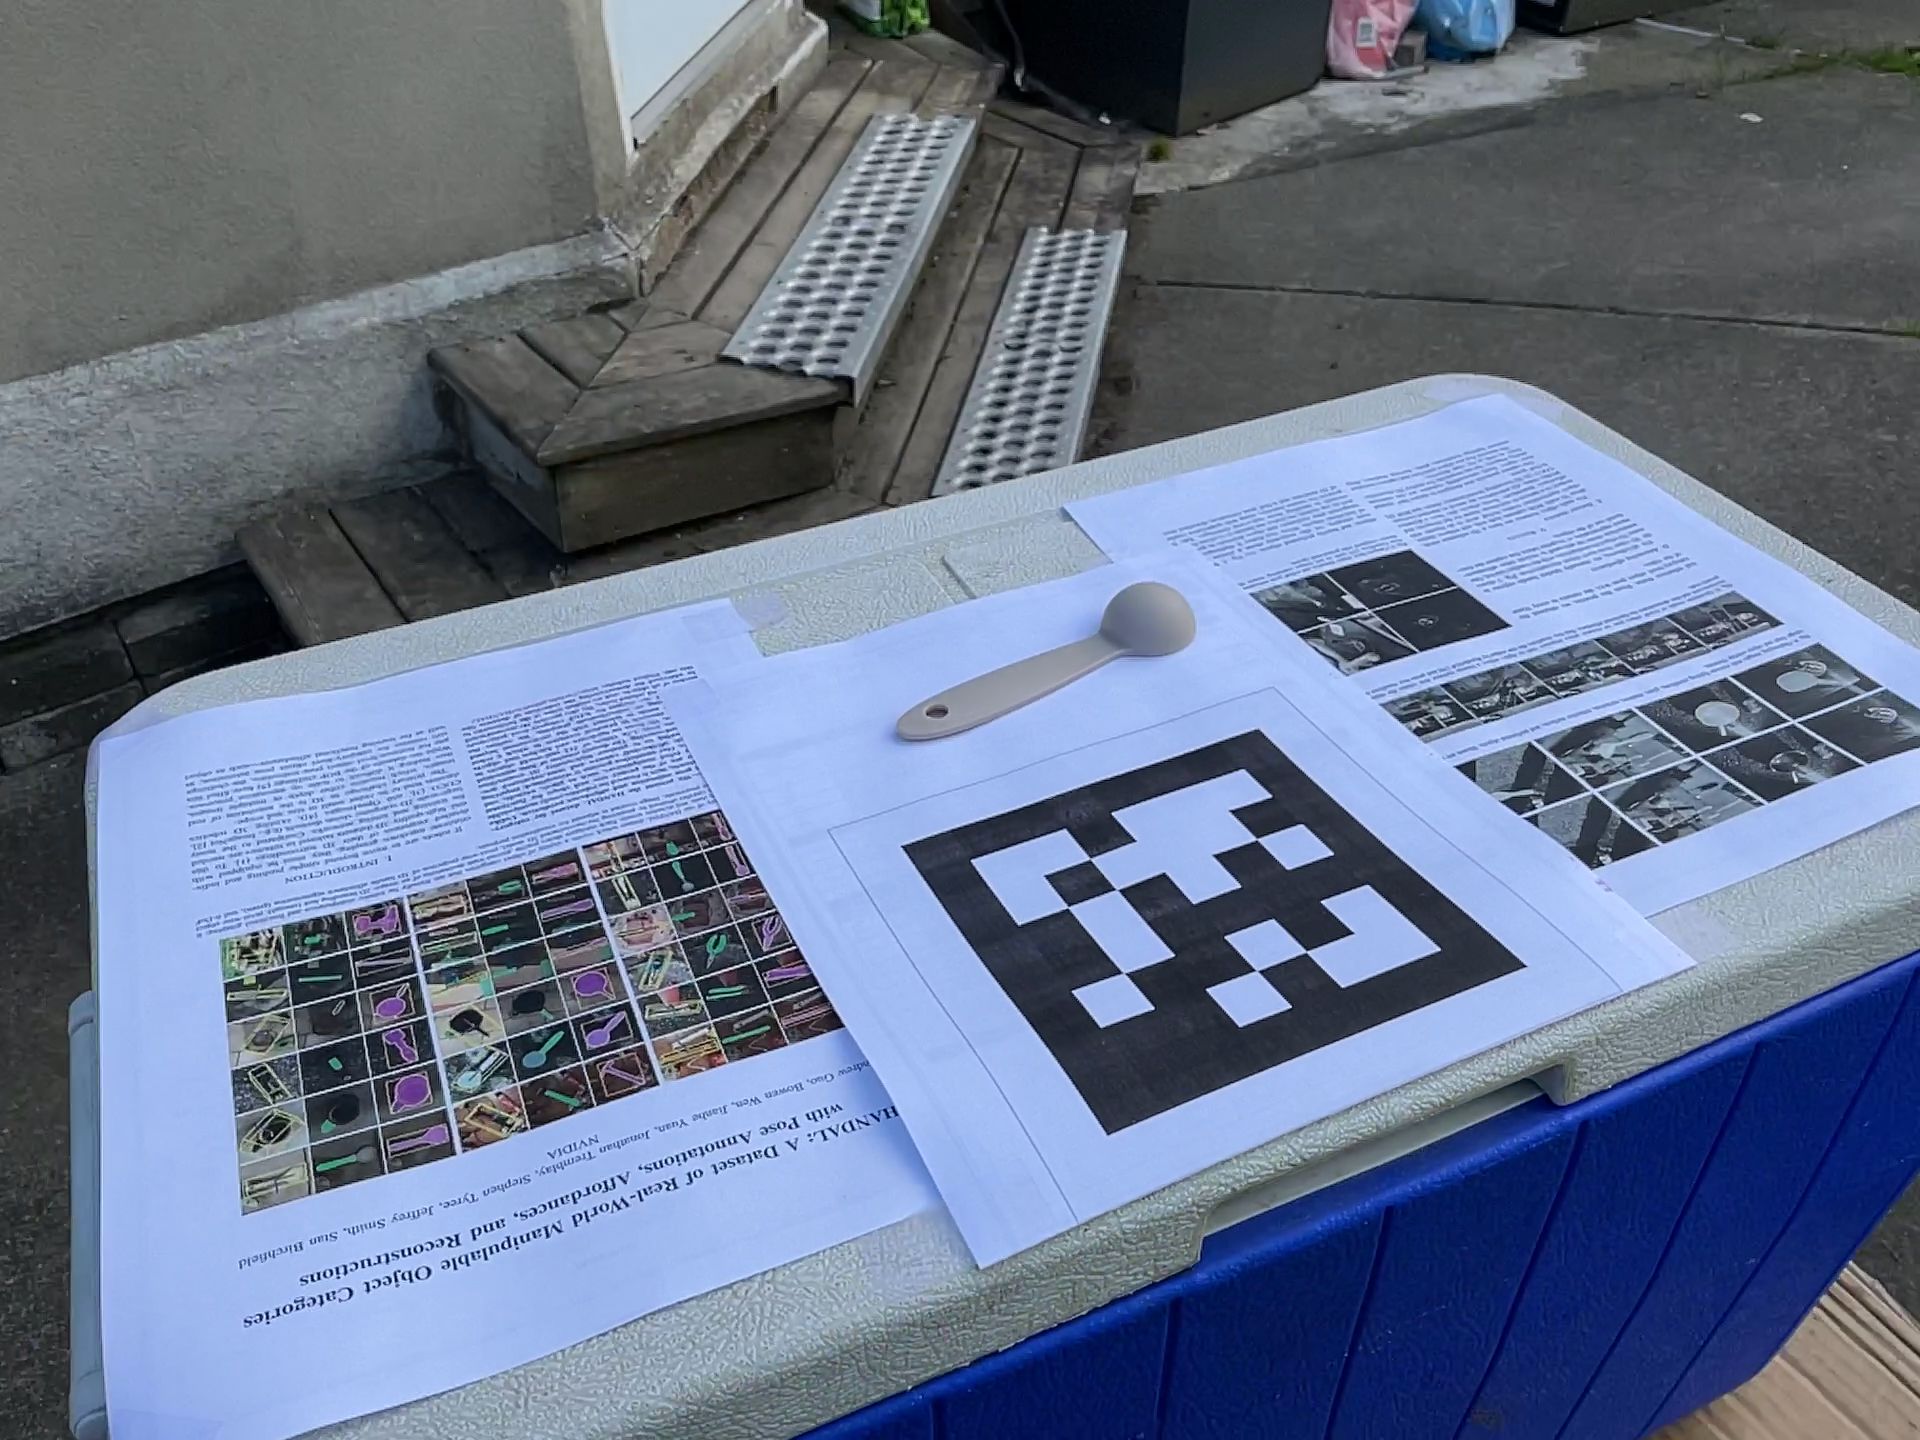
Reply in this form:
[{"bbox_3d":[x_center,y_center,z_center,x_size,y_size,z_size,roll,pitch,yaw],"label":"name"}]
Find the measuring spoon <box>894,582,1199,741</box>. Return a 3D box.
[{"bbox_3d":[0.030,-0.022,0.544,0.124,0.018,0.034,-24,43,-26],"label":"measuring spoon"}]
